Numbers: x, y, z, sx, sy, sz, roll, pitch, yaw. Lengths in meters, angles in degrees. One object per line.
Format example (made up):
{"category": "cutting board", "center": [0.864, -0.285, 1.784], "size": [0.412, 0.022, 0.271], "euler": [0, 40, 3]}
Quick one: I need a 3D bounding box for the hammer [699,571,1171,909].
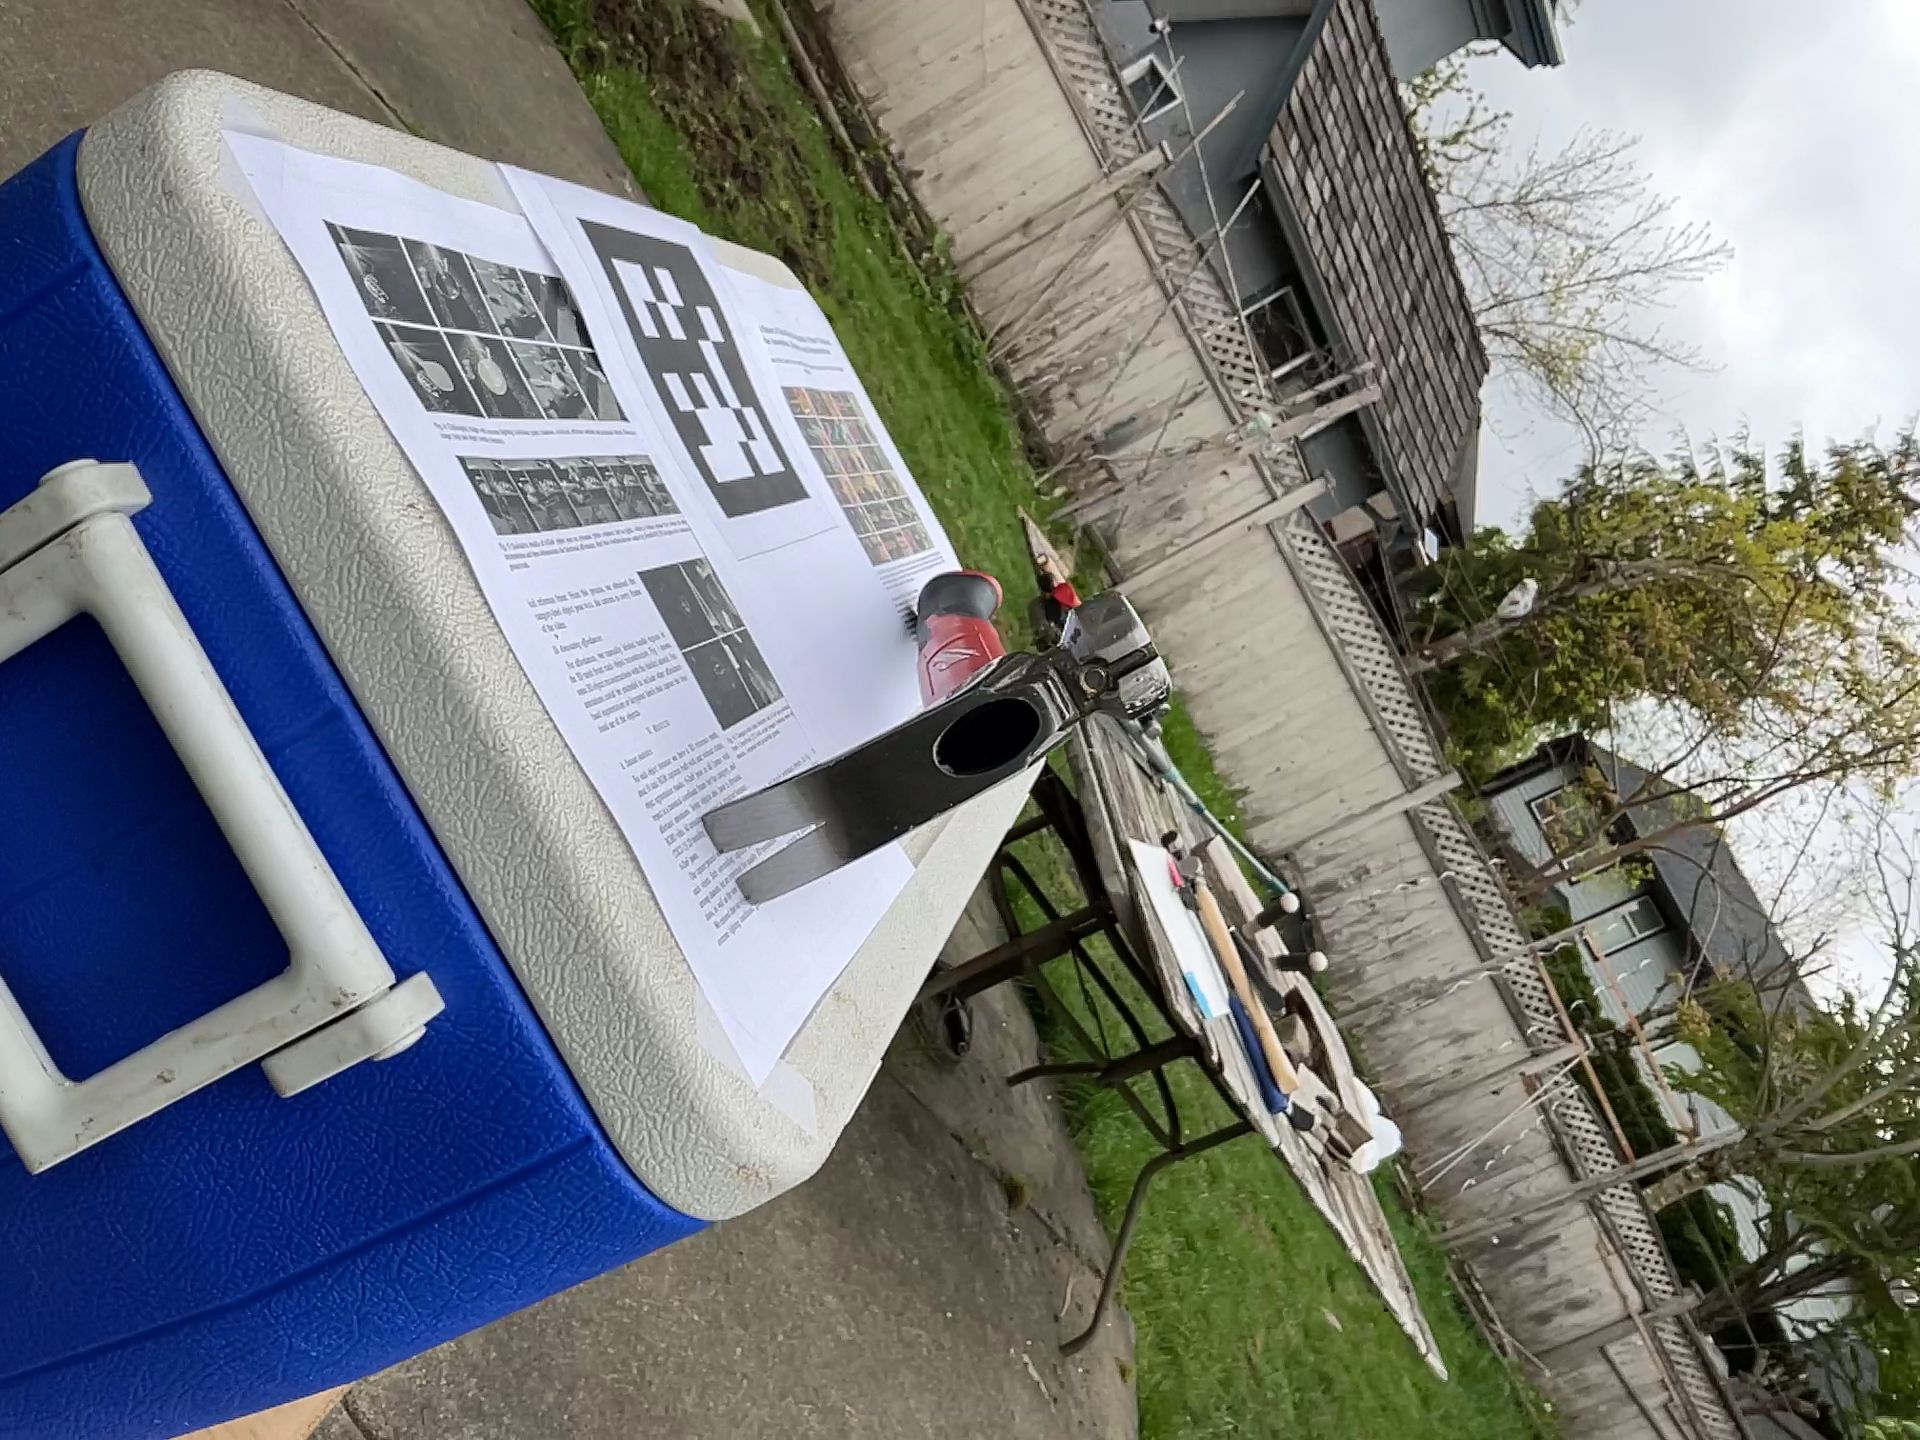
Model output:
{"category": "hammer", "center": [-0.015, -0.019, 0.648], "size": [0.038, 0.143, 0.386], "euler": [62, 2, -9]}
